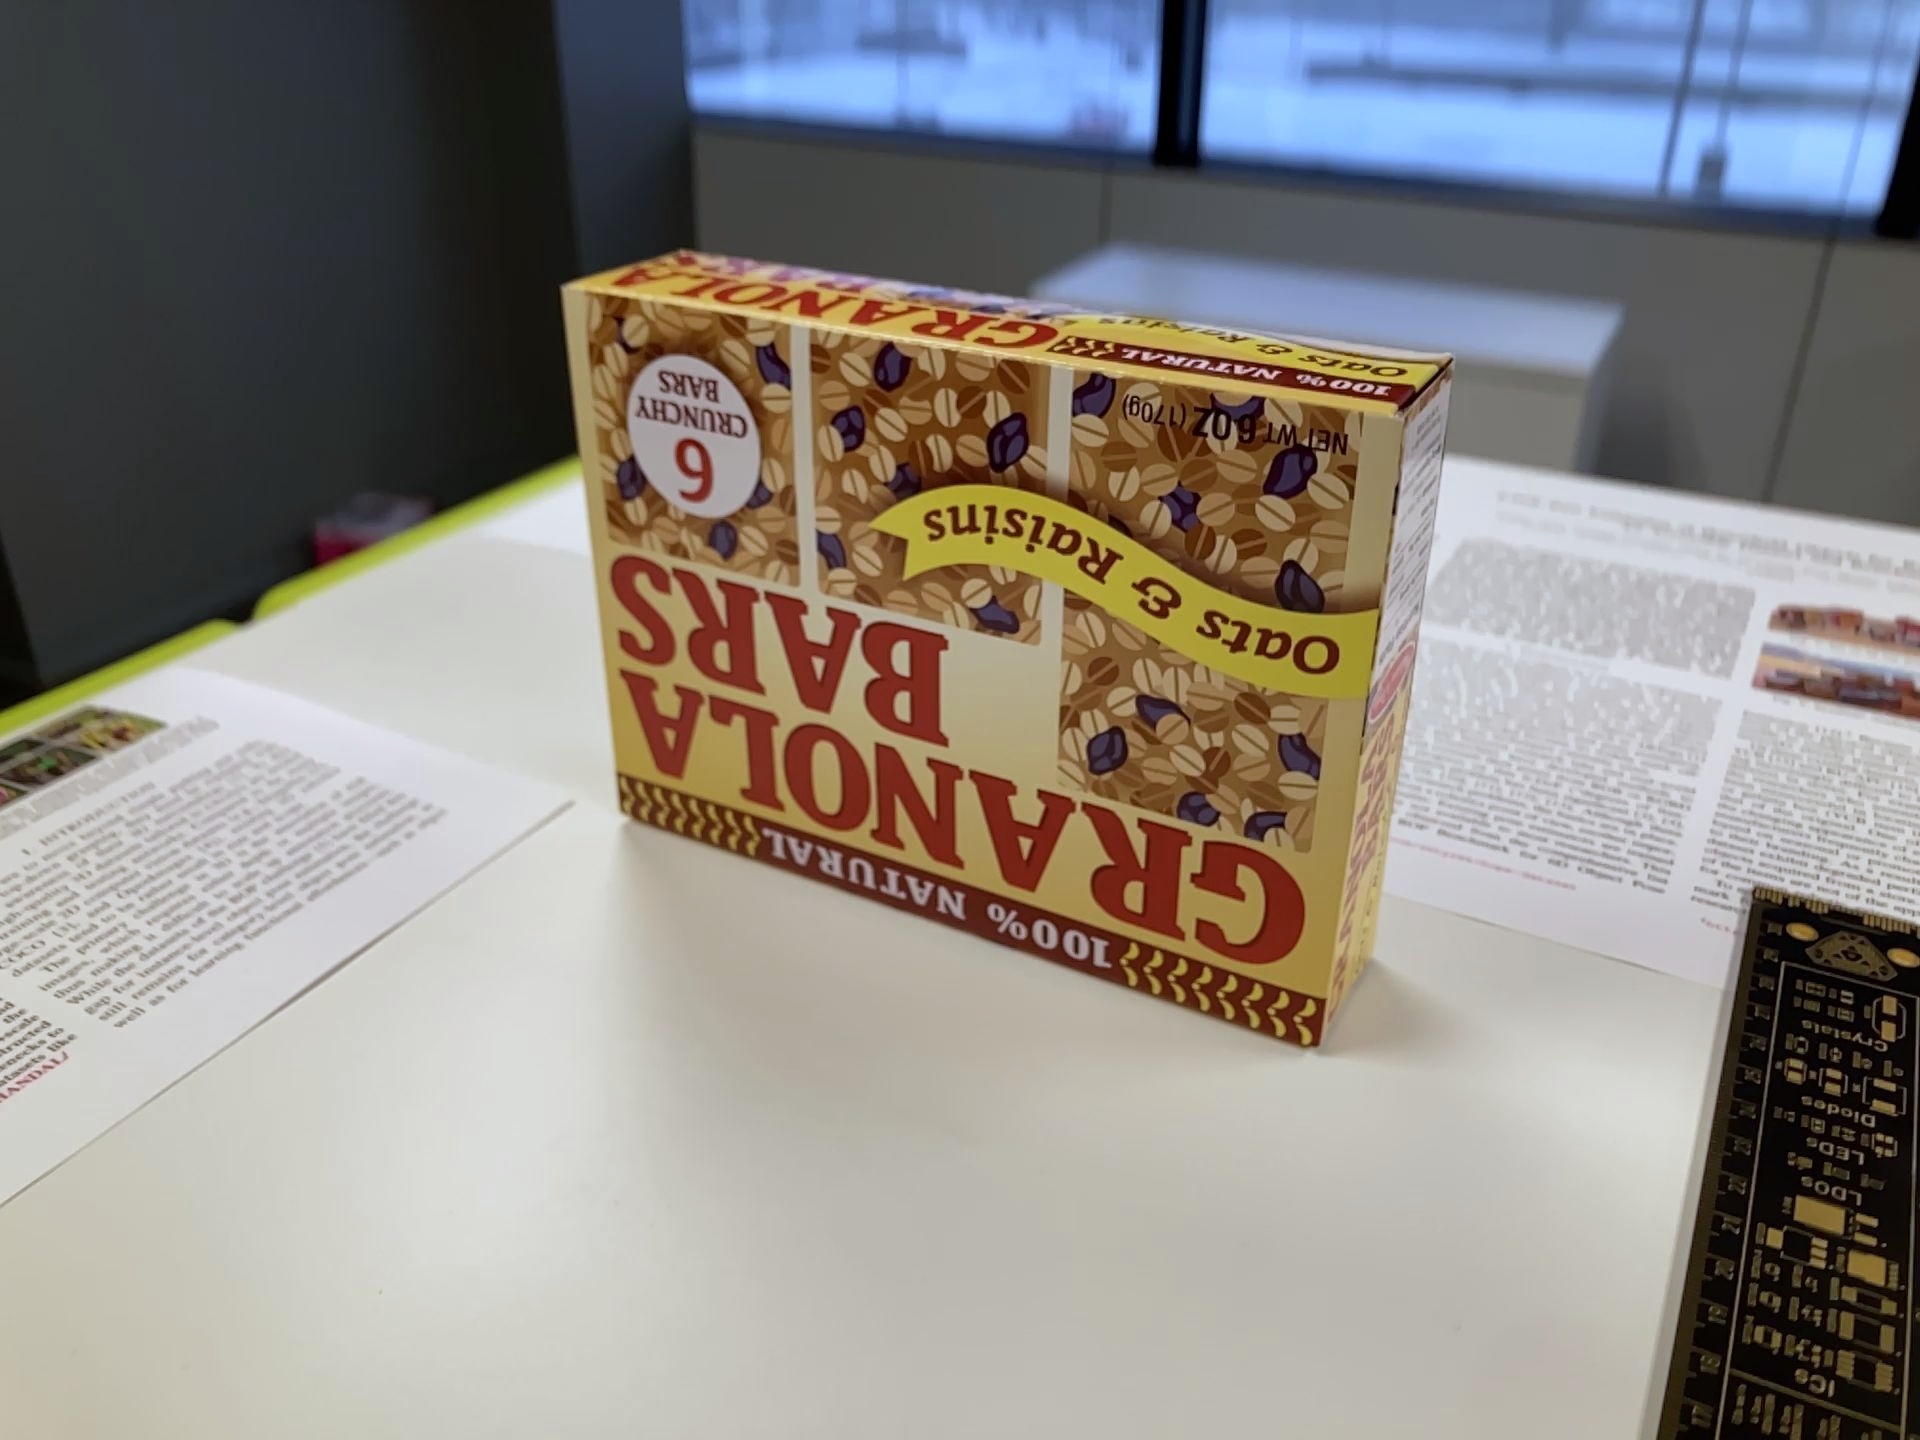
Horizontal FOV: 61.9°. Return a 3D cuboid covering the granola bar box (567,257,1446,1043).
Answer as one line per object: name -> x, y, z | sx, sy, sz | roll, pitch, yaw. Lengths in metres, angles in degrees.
granola bar box -> 0.003, -0.019, 0.320 | 0.165, 0.124, 0.039 | 15, 31, 26
